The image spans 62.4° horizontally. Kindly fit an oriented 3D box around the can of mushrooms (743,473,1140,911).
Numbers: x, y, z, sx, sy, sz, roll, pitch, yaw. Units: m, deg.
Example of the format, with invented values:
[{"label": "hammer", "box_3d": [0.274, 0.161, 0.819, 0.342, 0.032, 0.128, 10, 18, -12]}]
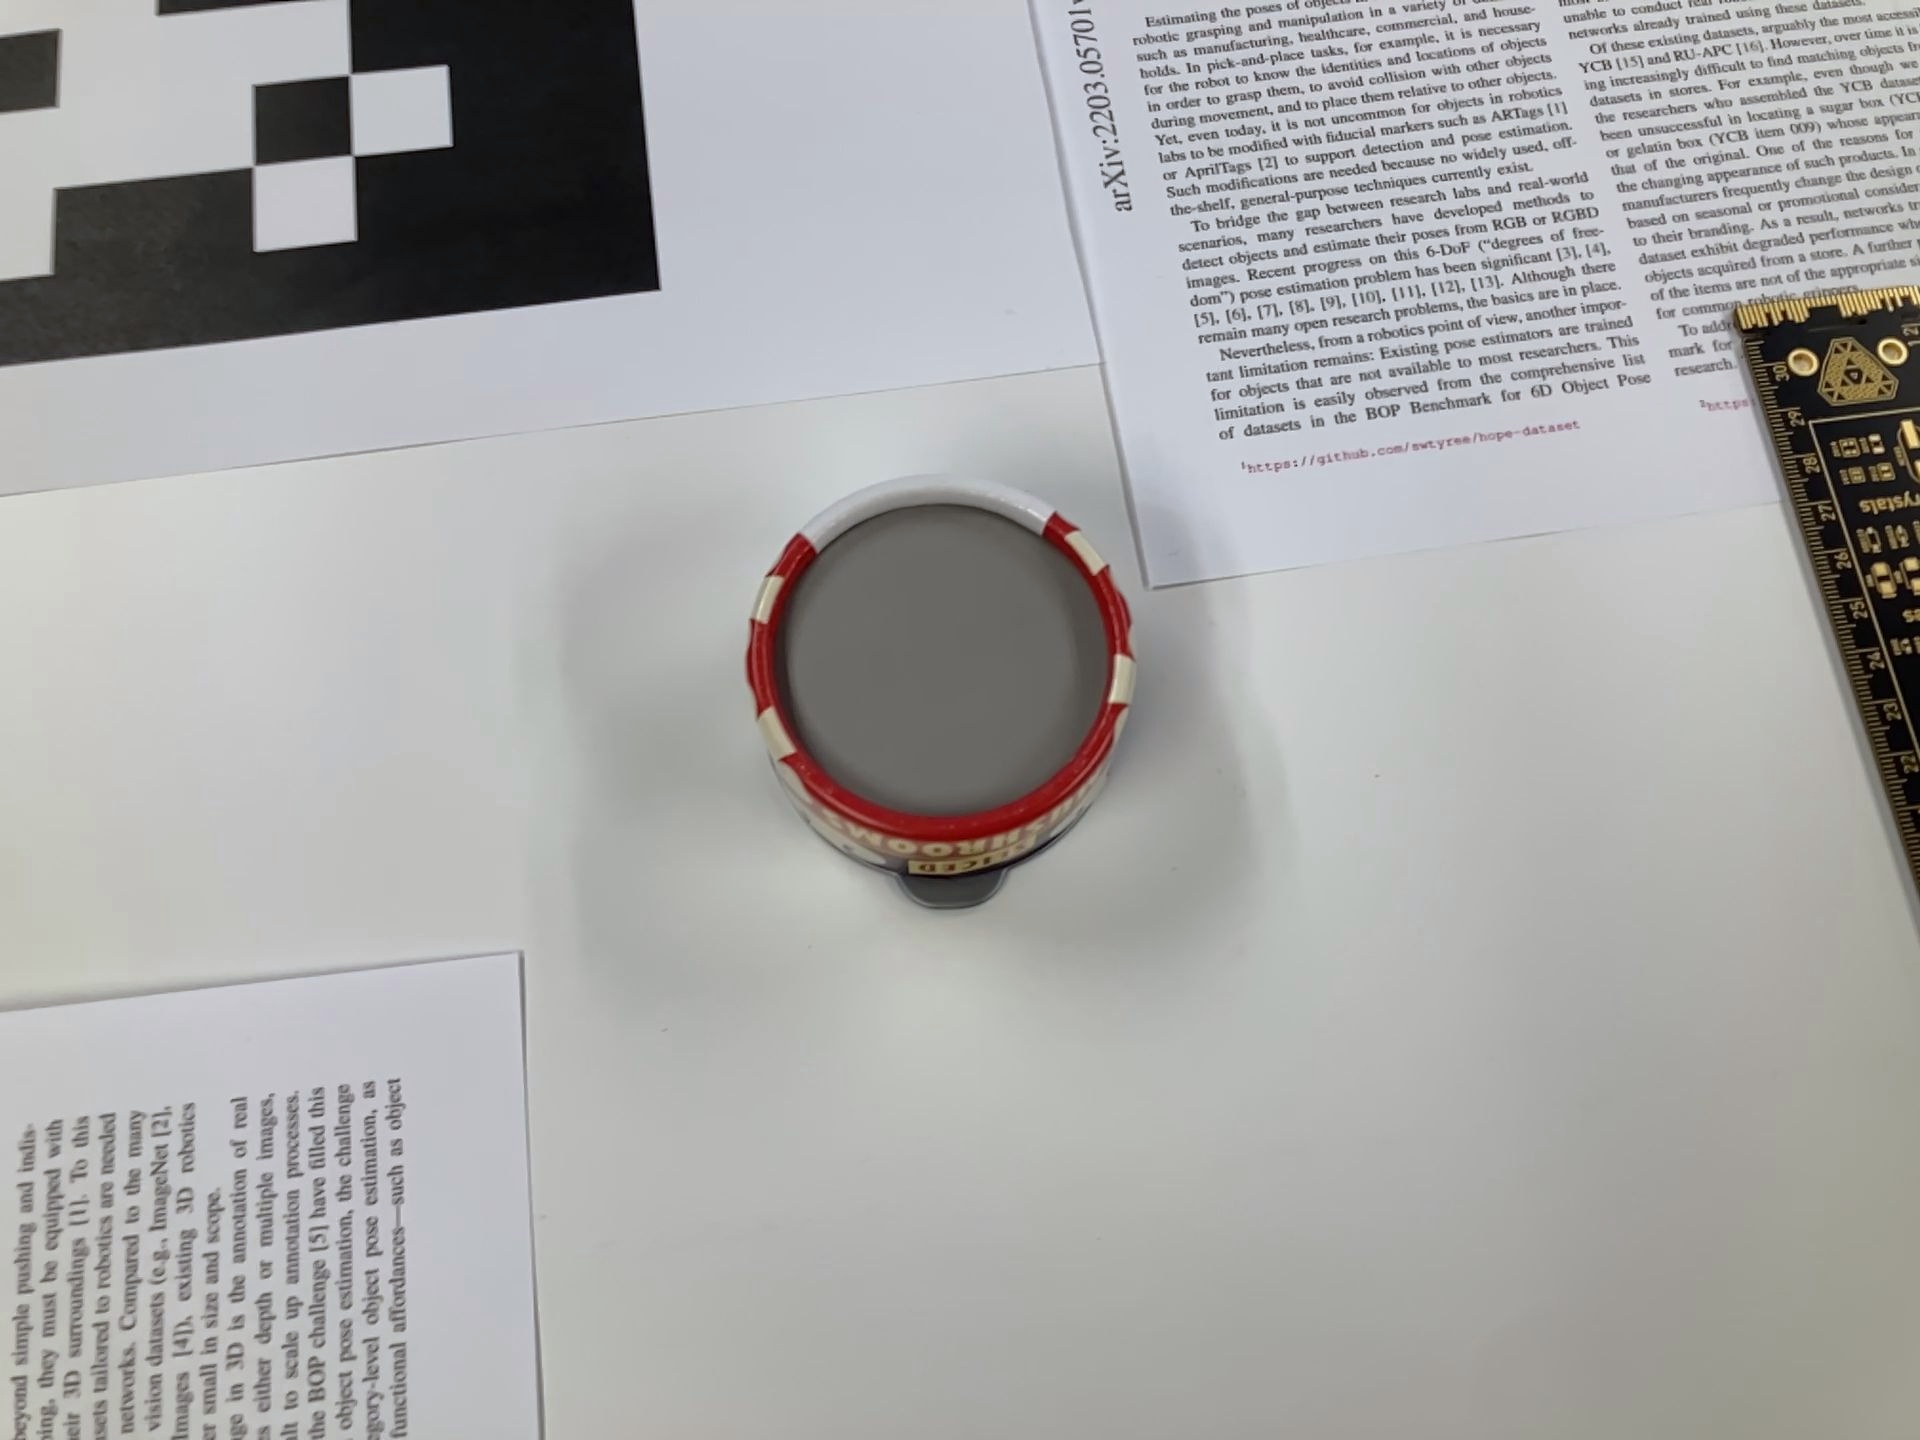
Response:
[{"label": "can of mushrooms", "box_3d": [-0.003, -0.005, 0.273, 0.071, 0.033, 0.071, 0, 73, -1]}]
